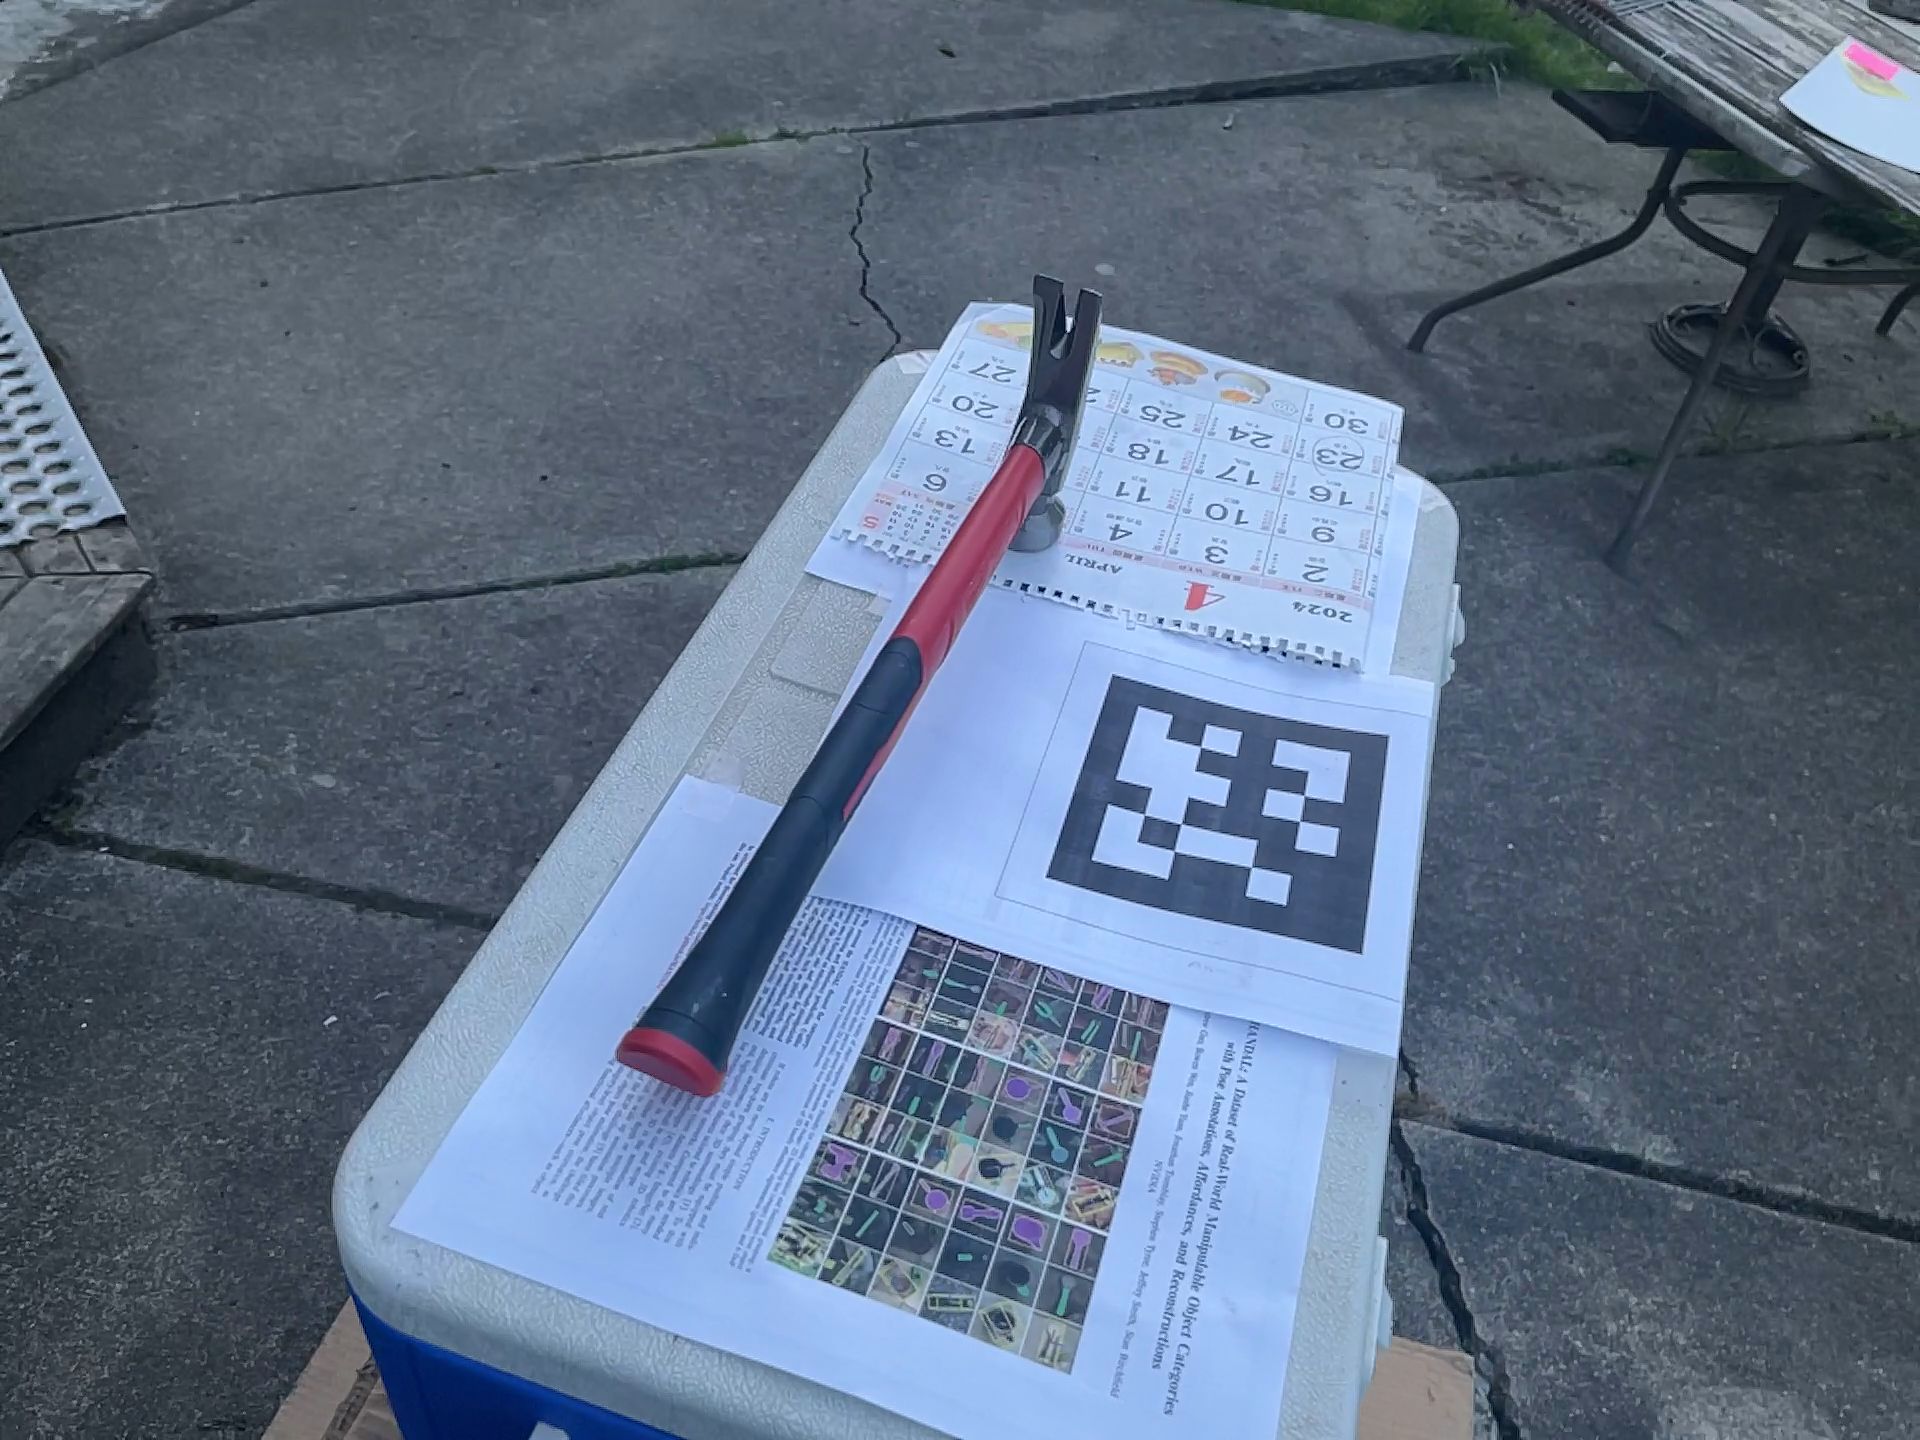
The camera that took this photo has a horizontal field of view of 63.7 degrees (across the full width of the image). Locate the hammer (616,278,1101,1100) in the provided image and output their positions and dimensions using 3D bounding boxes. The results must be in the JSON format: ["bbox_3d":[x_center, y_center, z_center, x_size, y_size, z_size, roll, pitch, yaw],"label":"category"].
[{"bbox_3d":[-0.025,-0.024,0.617,0.038,0.143,0.387,20,49,10],"label":"hammer"}]
